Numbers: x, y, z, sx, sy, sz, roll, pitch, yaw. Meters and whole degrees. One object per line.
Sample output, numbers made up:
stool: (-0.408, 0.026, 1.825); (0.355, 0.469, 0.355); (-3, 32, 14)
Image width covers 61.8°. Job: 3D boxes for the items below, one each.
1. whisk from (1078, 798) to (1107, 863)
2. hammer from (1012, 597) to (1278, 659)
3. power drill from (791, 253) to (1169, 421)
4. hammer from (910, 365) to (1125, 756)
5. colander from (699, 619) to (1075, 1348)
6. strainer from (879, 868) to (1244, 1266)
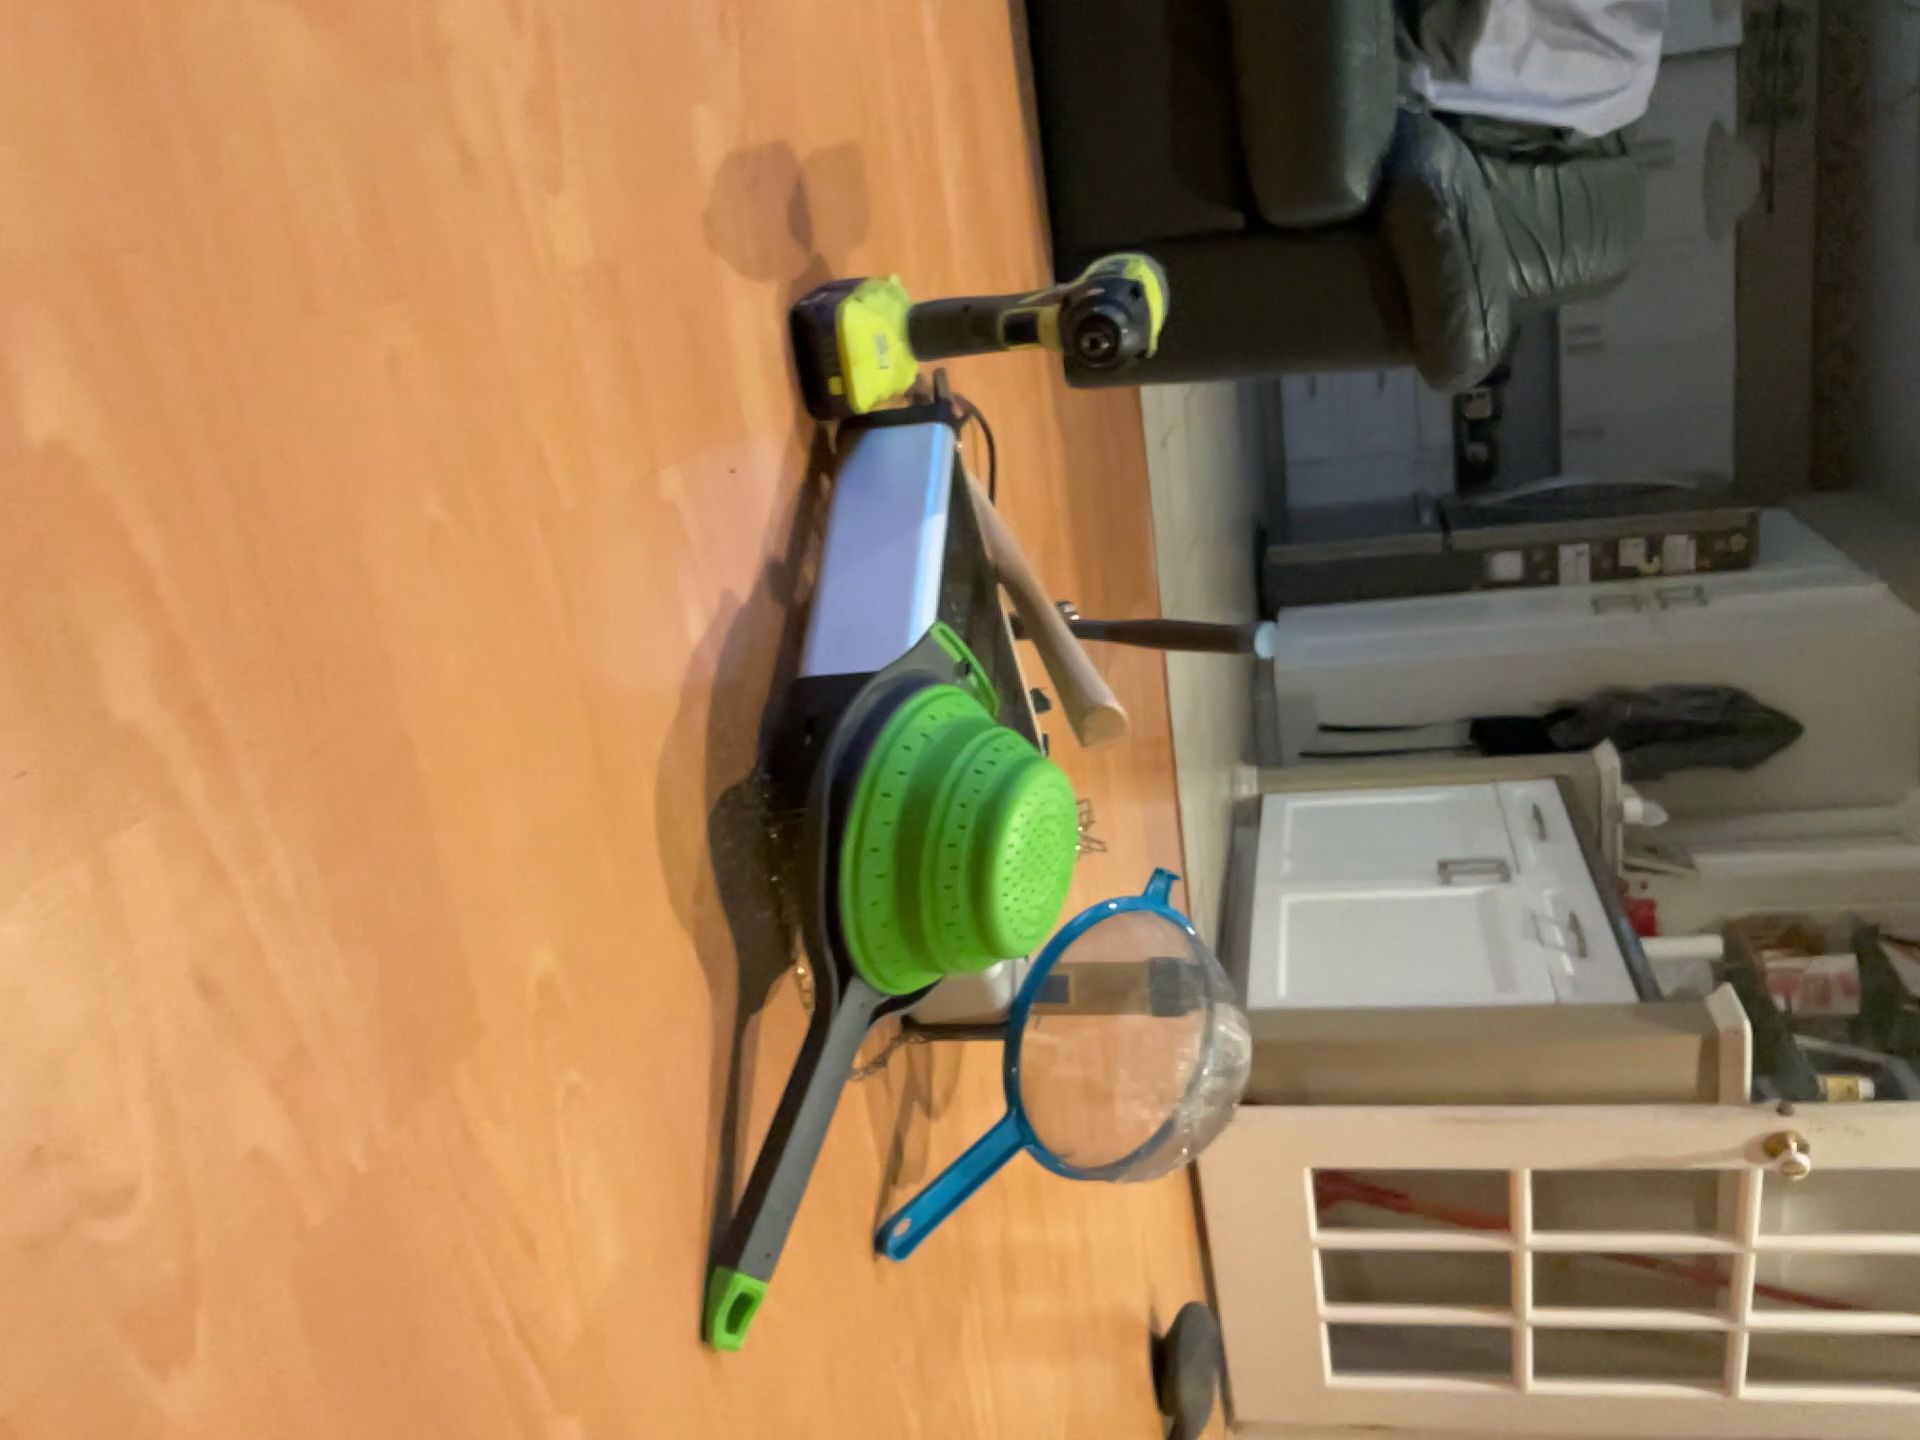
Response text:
whisk: (0.063, 0.084, 1.174); (0.057, 0.059, 0.246); (-64, 163, 5)
hammer: (0.147, -0.079, 1.404); (0.128, 0.331, 0.033); (-14, 104, -35)
power drill: (0.015, -0.248, 1.024); (0.171, 0.223, 0.080); (-63, 147, -63)
hammer: (0.034, -0.114, 1.139); (0.411, 0.038, 0.146); (-115, -170, -53)
colander: (-0.026, 0.140, 0.850); (0.204, 0.094, 0.397); (54, 51, -54)
strainer: (0.092, 0.270, 1.114); (0.341, 0.095, 0.210); (-35, 116, -32)
